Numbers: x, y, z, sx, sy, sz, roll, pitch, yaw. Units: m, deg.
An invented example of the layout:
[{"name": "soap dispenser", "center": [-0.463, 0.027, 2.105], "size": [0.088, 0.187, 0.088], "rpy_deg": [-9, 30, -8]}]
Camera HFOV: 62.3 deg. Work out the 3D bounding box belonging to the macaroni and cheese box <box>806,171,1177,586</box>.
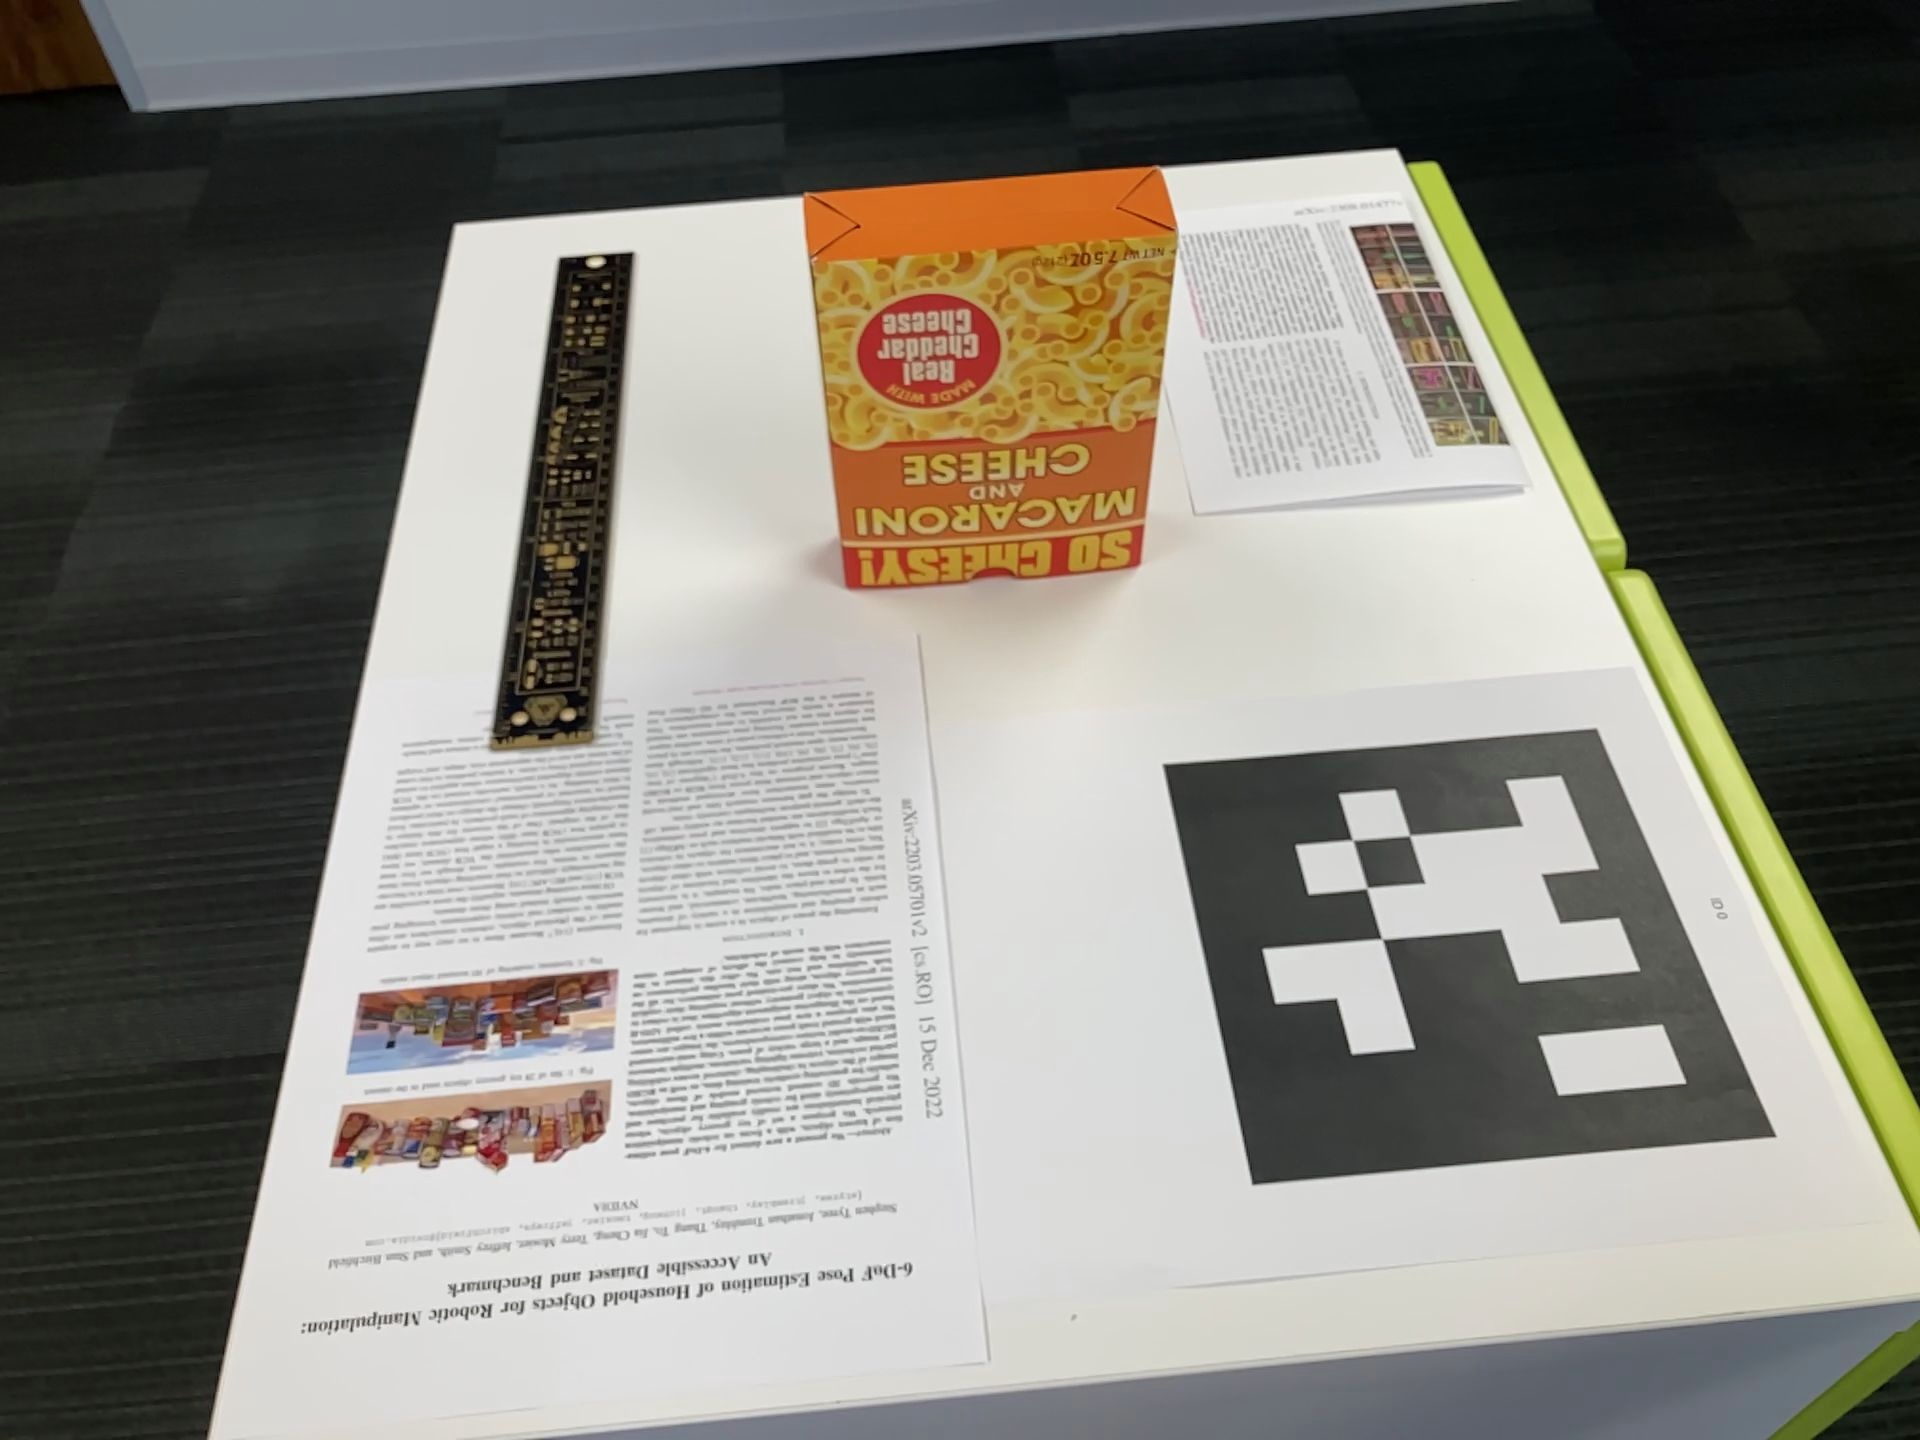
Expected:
[{"name": "macaroni and cheese box", "center": [0.010, -0.121, 0.600], "size": [0.124, 0.166, 0.040], "rpy_deg": [-4, 53, -2]}]
